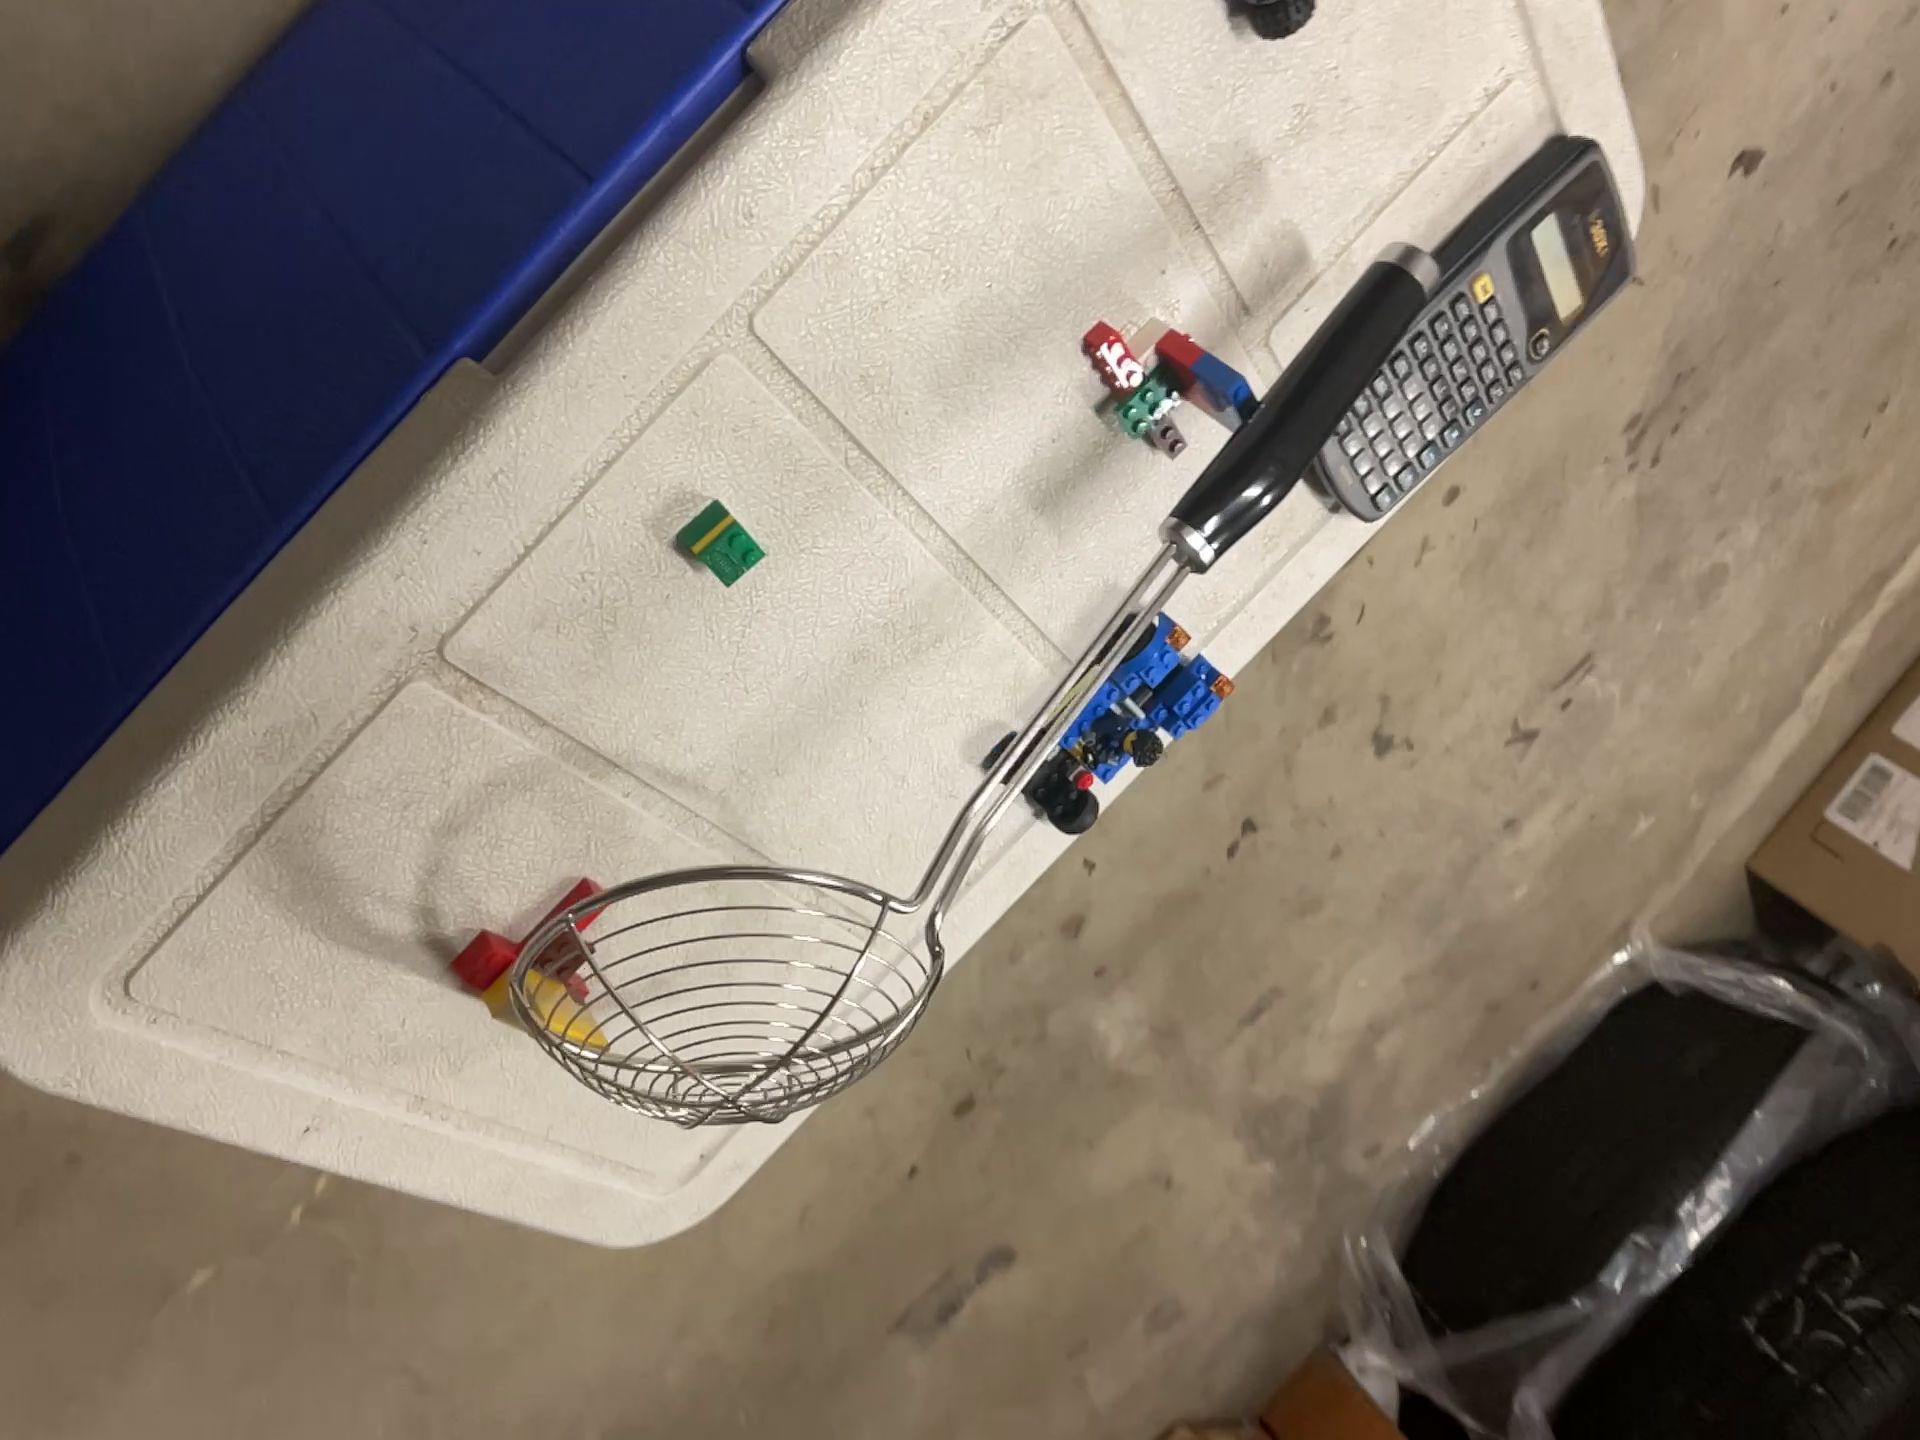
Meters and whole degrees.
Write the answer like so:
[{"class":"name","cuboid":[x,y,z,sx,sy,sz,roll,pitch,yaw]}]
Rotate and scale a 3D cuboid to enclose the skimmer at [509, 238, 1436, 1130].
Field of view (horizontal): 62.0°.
[{"class":"skimmer","cuboid":[0.013,-0.020,0.503,0.363,0.090,0.127,-51,140,-10]}]
